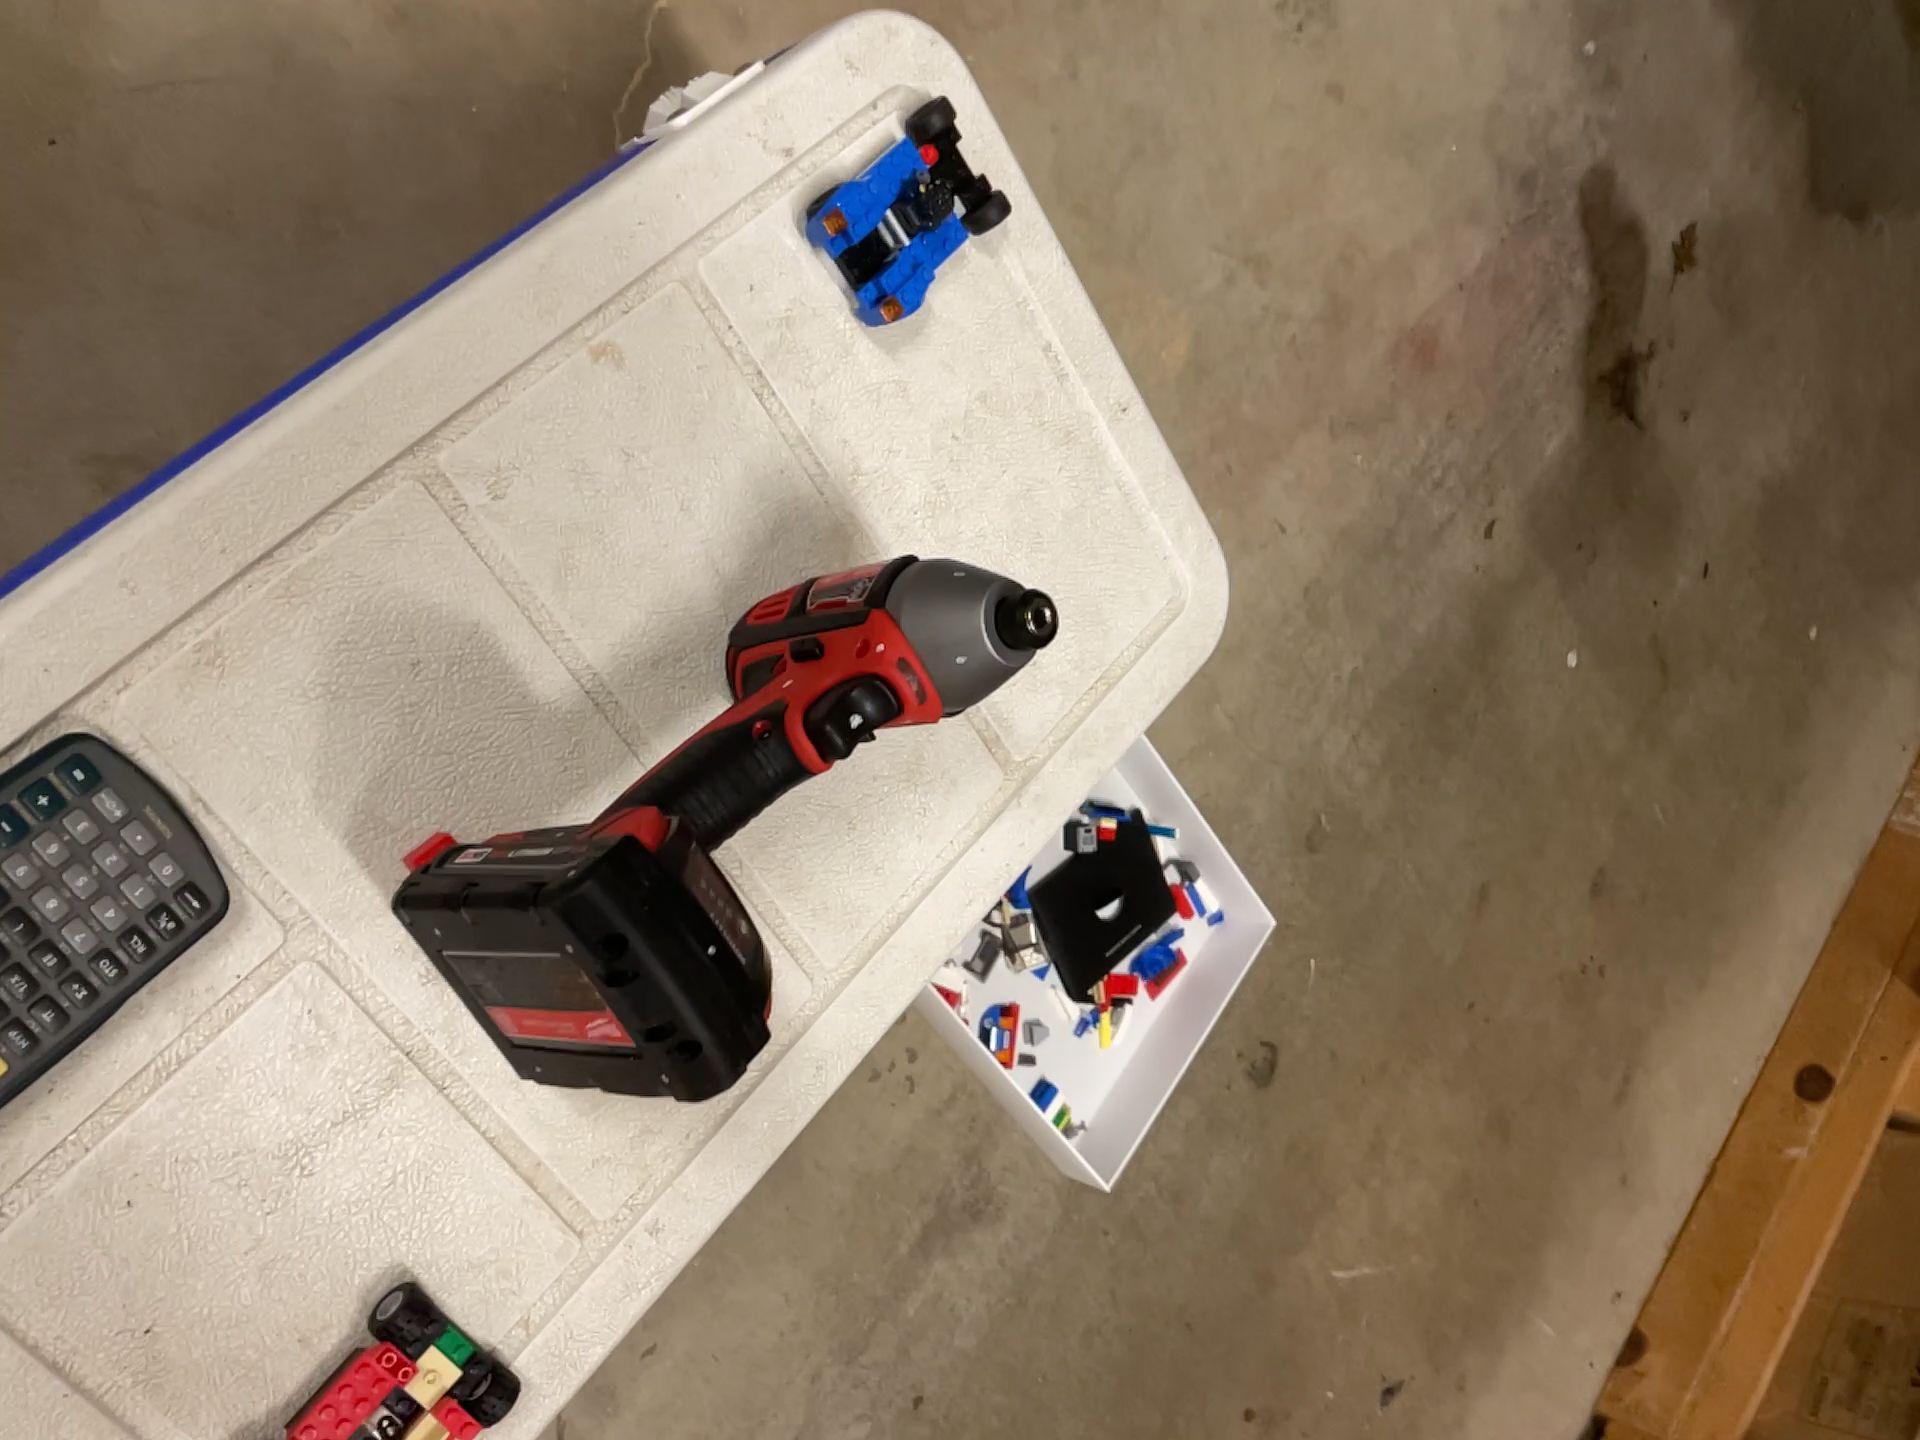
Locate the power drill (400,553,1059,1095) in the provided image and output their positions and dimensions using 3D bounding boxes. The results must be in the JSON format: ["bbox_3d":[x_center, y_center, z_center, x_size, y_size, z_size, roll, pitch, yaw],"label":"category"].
[{"bbox_3d":[-0.064,0.018,0.537,0.220,0.143,0.078,-49,119,-40],"label":"power drill"}]
